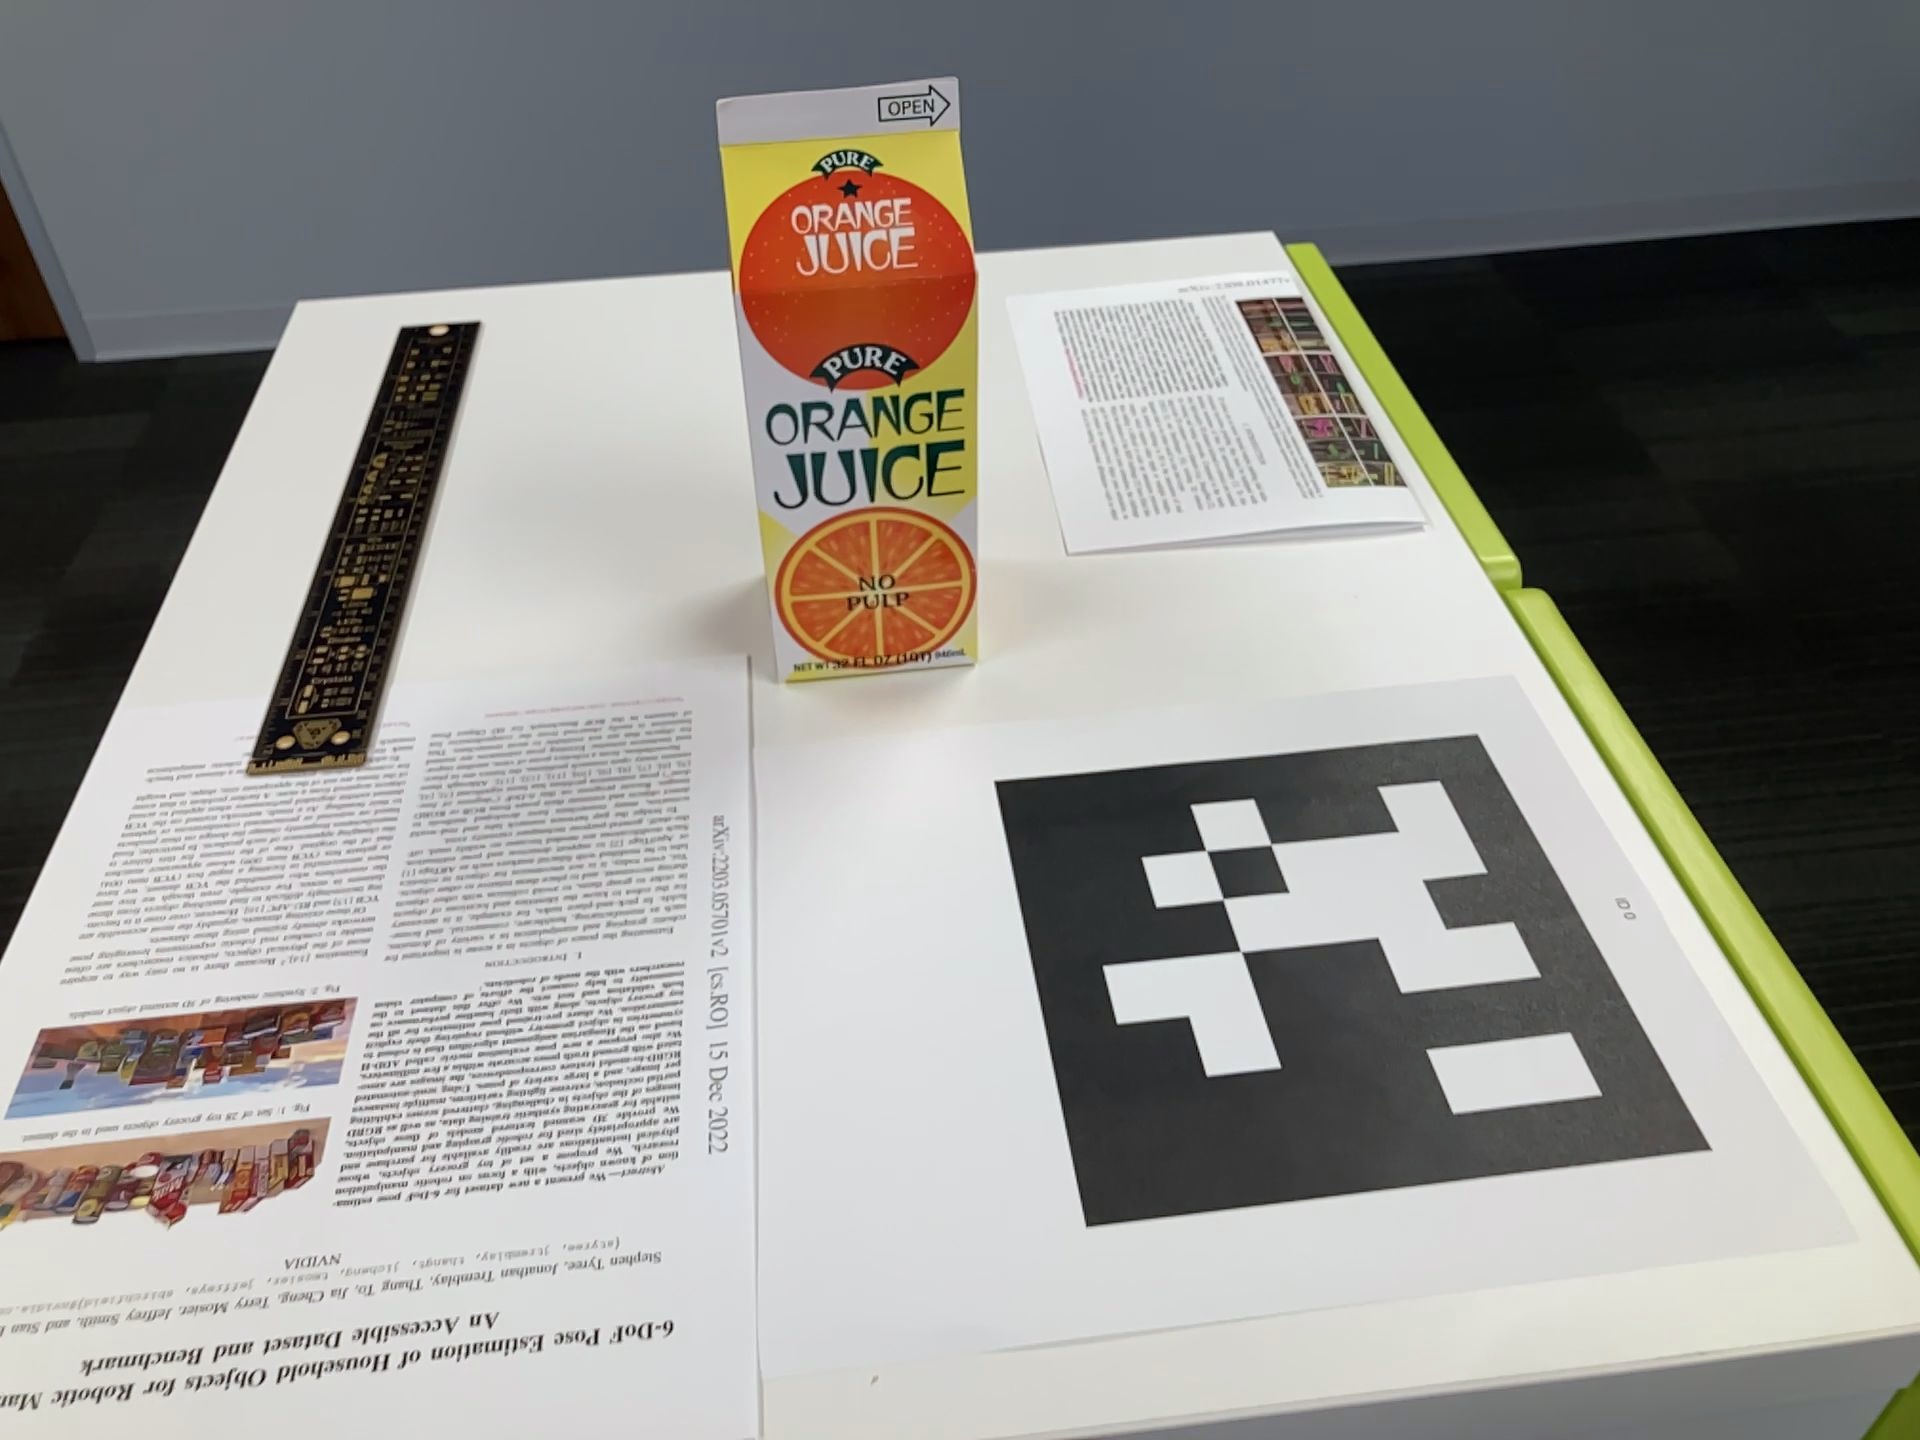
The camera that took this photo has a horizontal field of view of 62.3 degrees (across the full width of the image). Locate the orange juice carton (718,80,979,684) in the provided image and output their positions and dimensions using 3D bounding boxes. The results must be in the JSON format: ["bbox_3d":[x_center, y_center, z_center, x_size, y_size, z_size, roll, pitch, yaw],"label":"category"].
[{"bbox_3d":[-0.034,-0.109,0.518,0.072,0.192,0.073,-6,42,-6],"label":"orange juice carton"}]
